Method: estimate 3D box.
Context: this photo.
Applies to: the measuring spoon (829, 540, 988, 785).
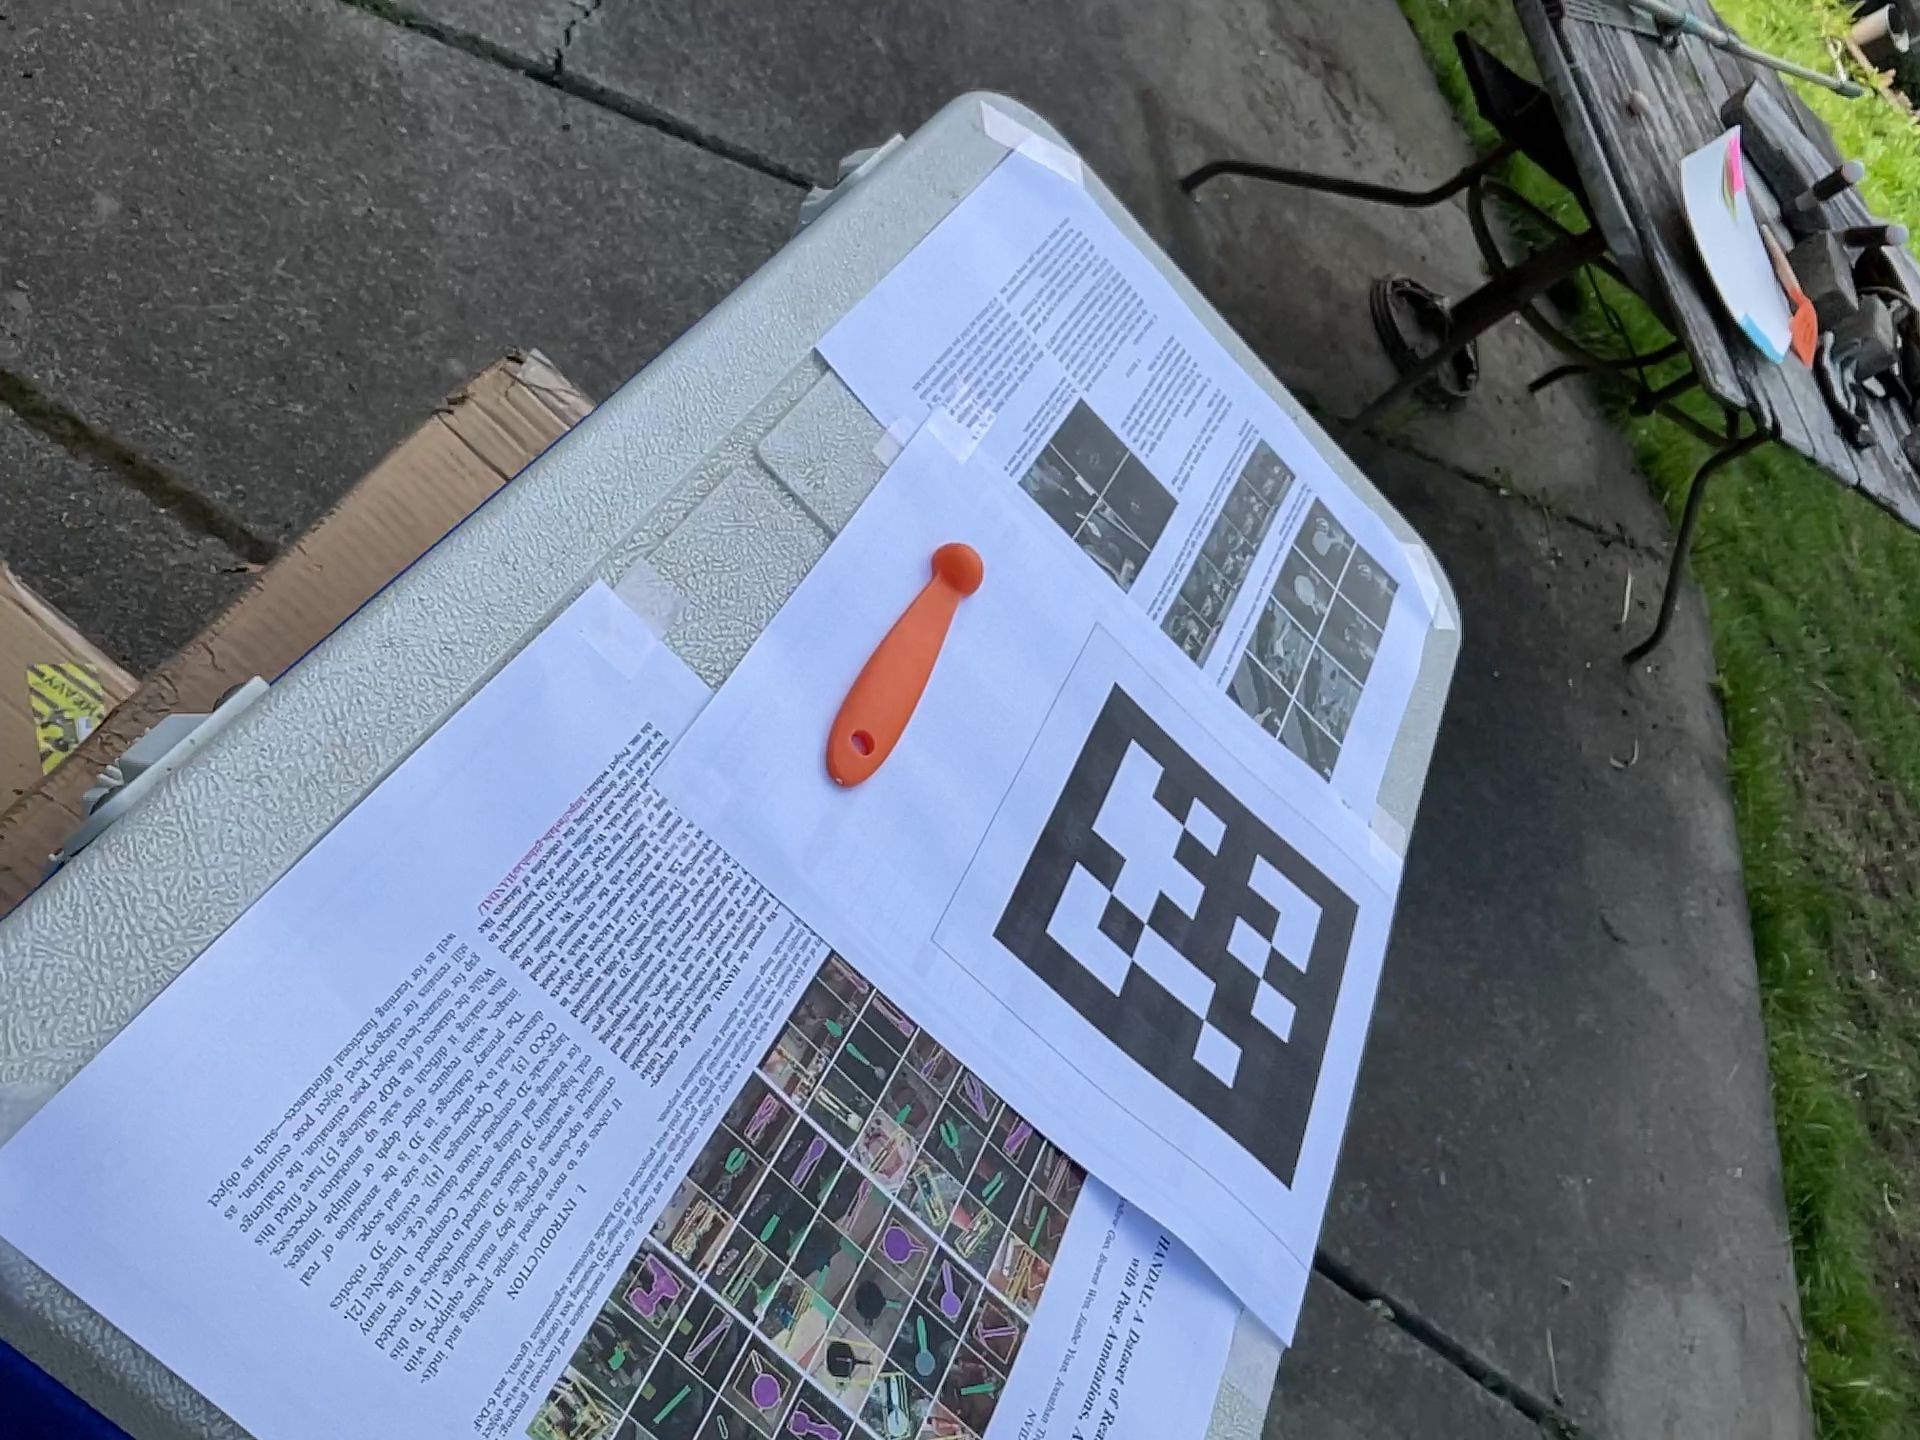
[{"bbox_3d":[-0.014,-0.022,0.507,0.021,0.011,0.117,38,45,-11],"label":"measuring spoon"}]
